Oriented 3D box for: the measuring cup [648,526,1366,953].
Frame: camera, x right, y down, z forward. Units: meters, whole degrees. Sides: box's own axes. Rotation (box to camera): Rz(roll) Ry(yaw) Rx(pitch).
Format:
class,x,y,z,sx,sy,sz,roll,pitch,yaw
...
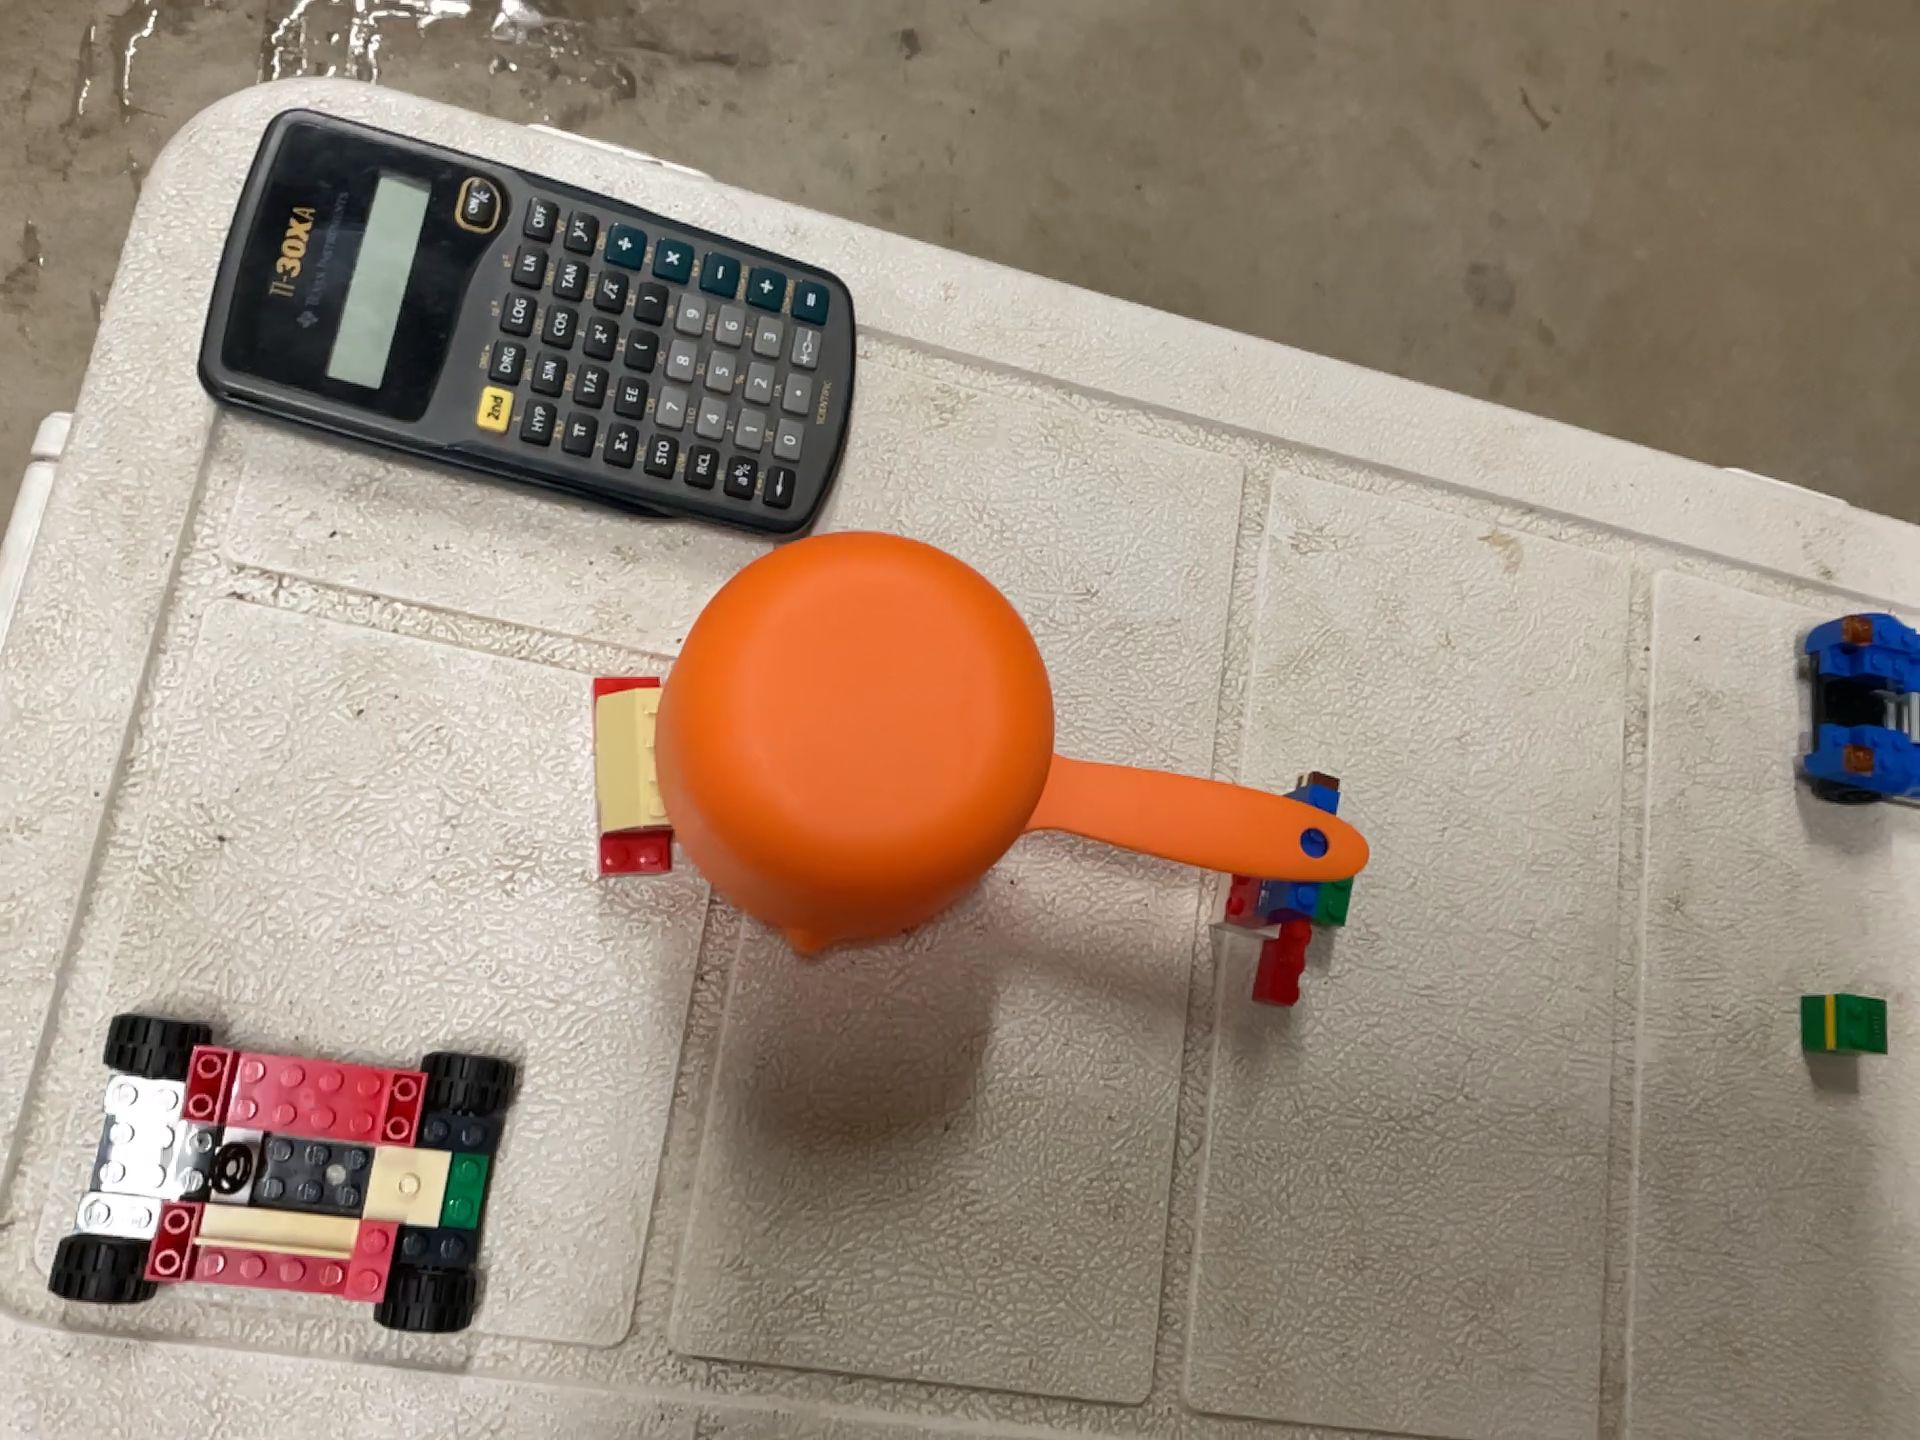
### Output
class,x,y,z,sx,sy,sz,roll,pitch,yaw
measuring cup,0.018,0.011,0.354,0.173,0.052,0.095,12,76,-7
